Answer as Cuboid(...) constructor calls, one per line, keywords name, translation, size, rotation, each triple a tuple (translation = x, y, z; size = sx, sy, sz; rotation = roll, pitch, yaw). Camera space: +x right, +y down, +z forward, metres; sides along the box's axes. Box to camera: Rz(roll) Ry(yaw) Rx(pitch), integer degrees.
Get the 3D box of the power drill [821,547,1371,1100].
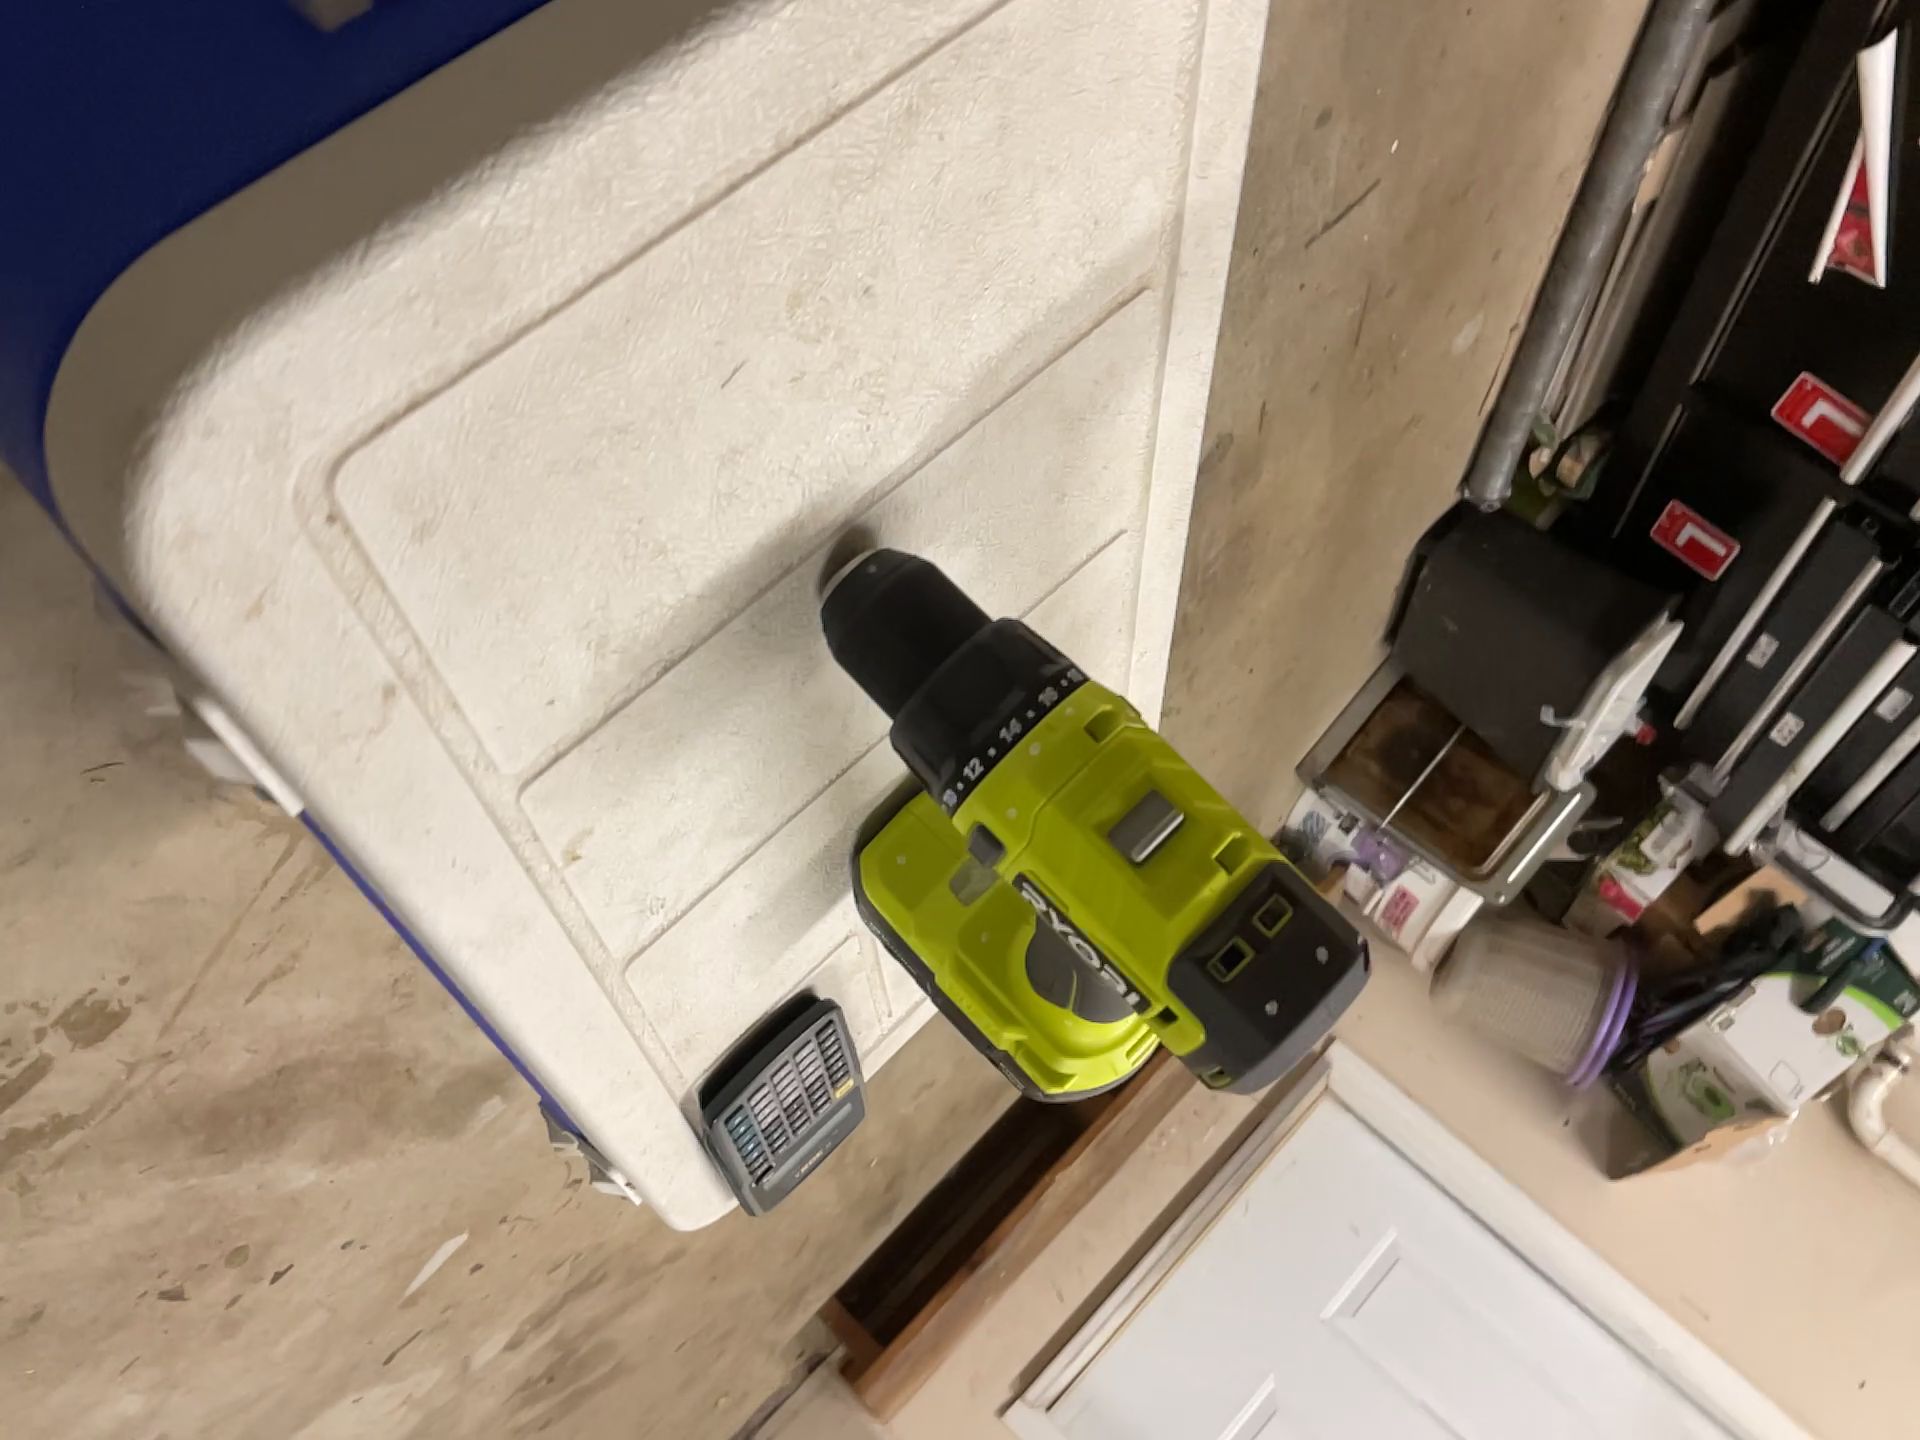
Cuboid(name="power drill", translation=(0.023, 0.047, 0.547), size=(0.080, 0.190, 0.228), rotation=(-42, 172, -17))
